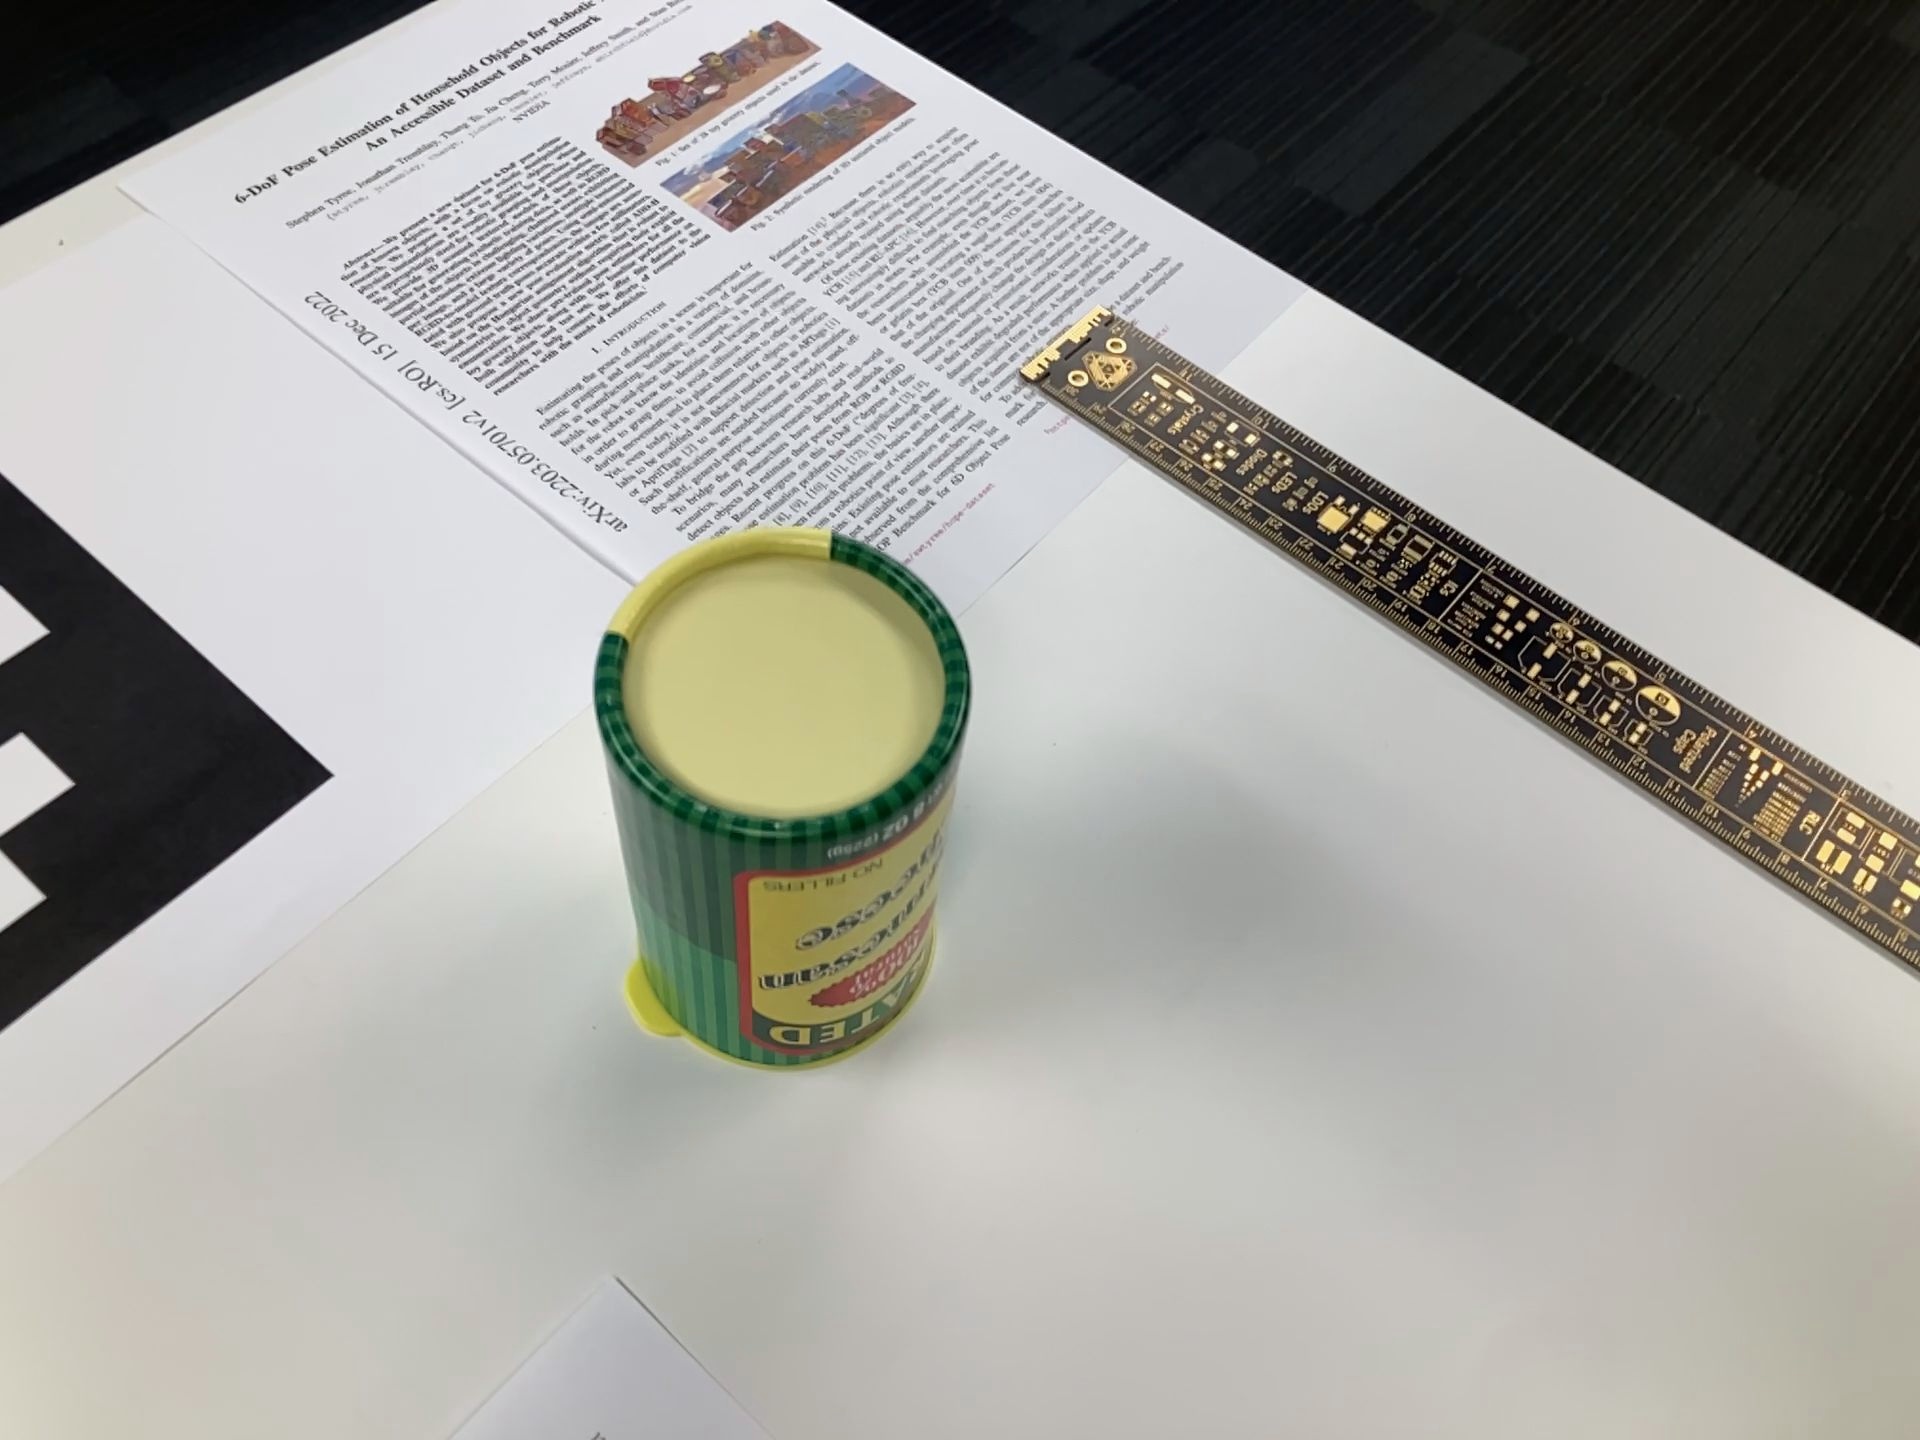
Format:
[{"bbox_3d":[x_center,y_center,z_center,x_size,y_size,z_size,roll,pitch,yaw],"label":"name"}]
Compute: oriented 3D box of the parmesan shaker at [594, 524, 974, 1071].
[{"bbox_3d":[-0.036,0.021,0.311,0.071,0.103,0.071,3,57,-4],"label":"parmesan shaker"}]
